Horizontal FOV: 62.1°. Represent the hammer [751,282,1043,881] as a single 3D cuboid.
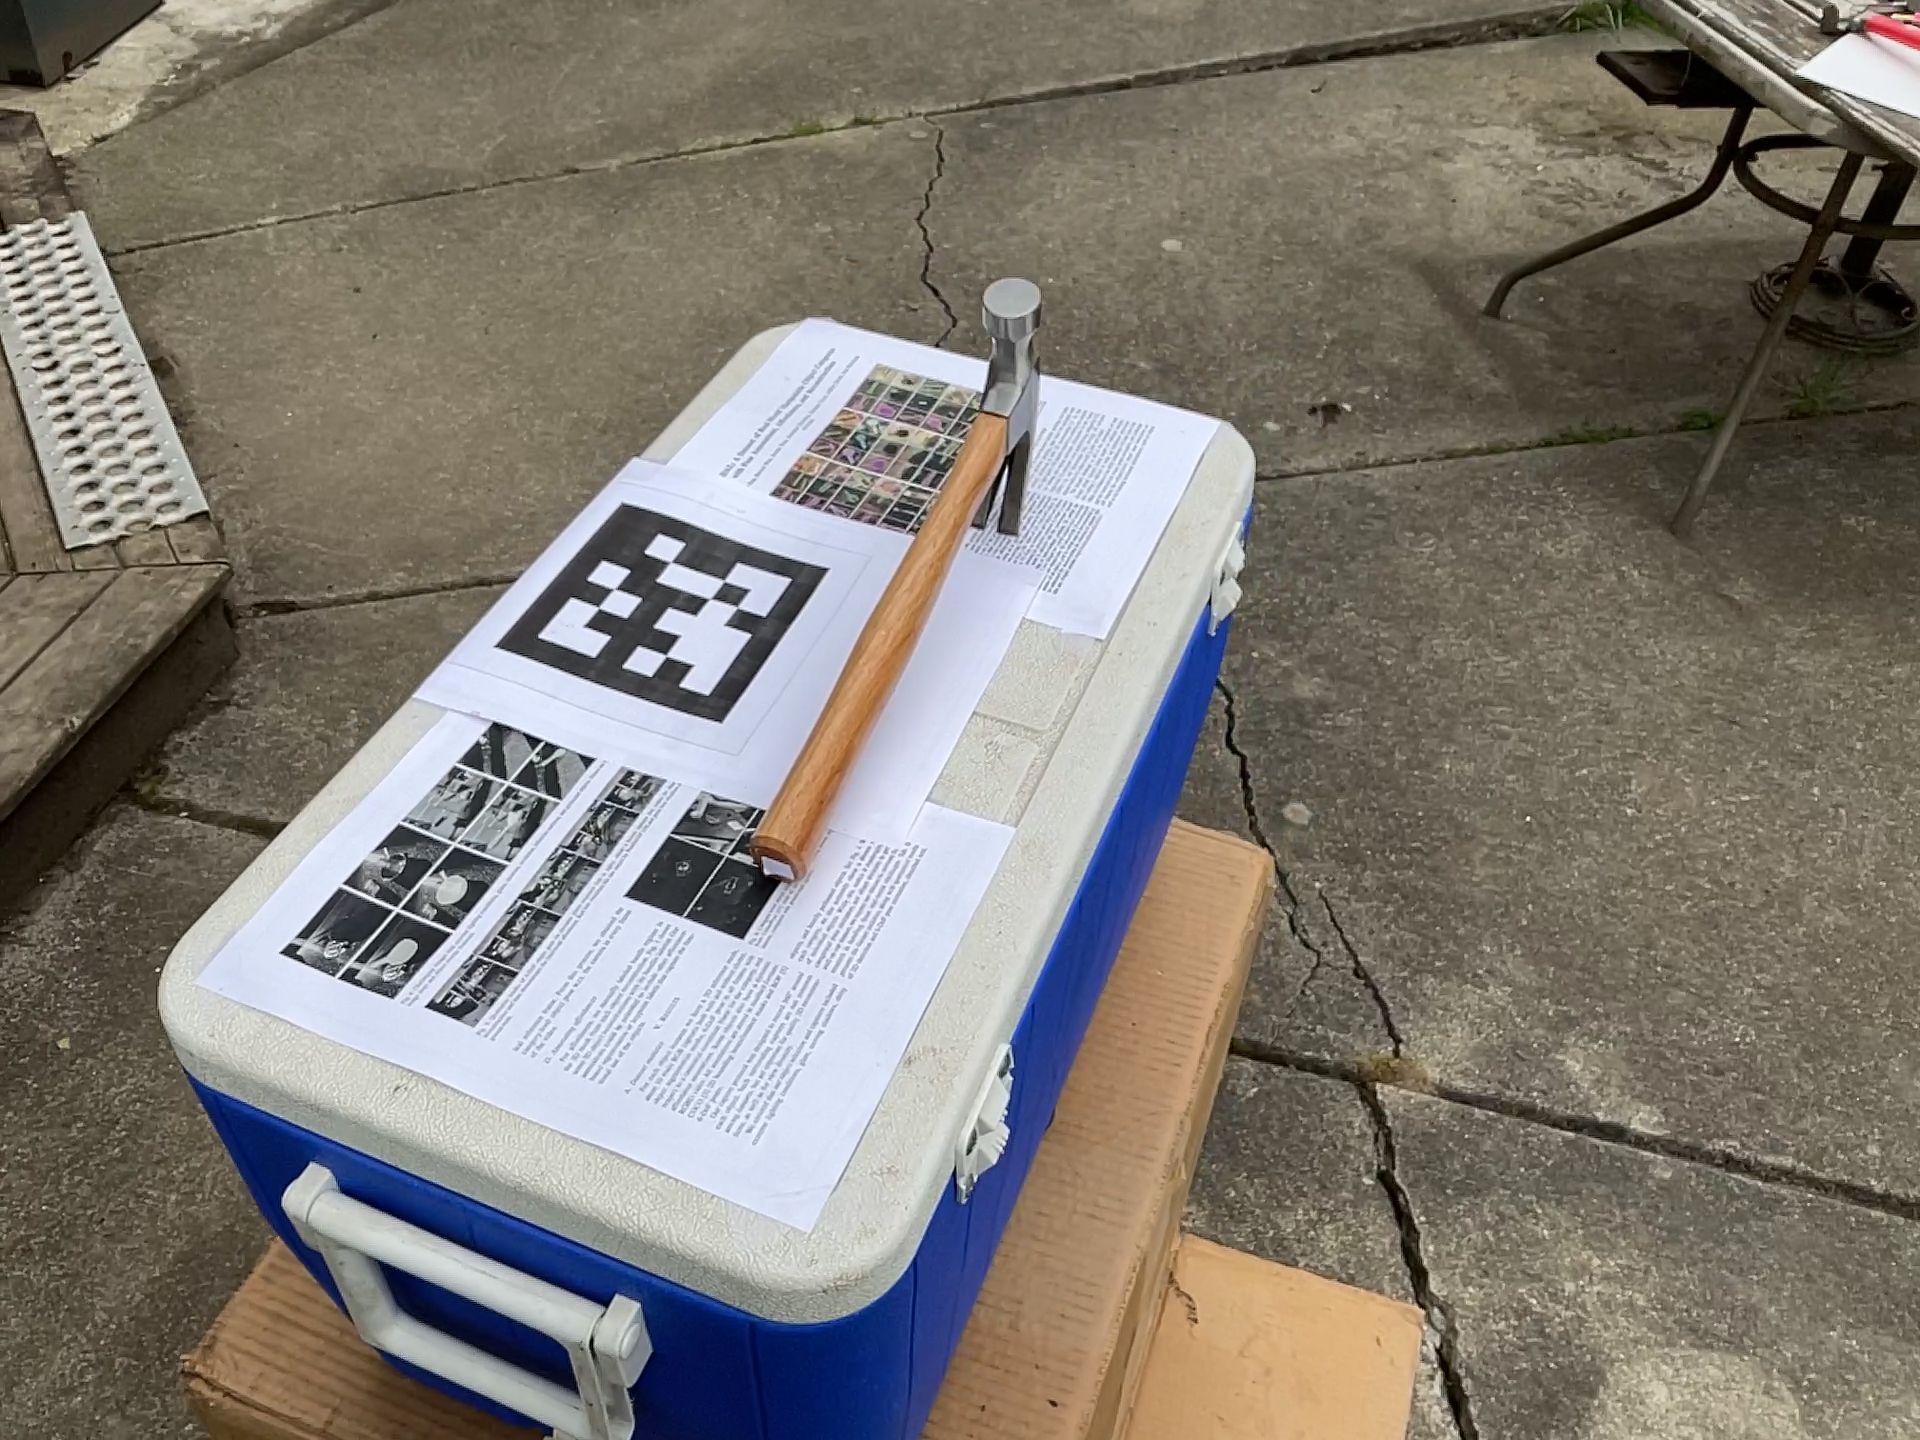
[{"bbox_3d":[-0.022,-0.063,0.791,0.031,0.130,0.331,15,57,15],"label":"hammer"}]
